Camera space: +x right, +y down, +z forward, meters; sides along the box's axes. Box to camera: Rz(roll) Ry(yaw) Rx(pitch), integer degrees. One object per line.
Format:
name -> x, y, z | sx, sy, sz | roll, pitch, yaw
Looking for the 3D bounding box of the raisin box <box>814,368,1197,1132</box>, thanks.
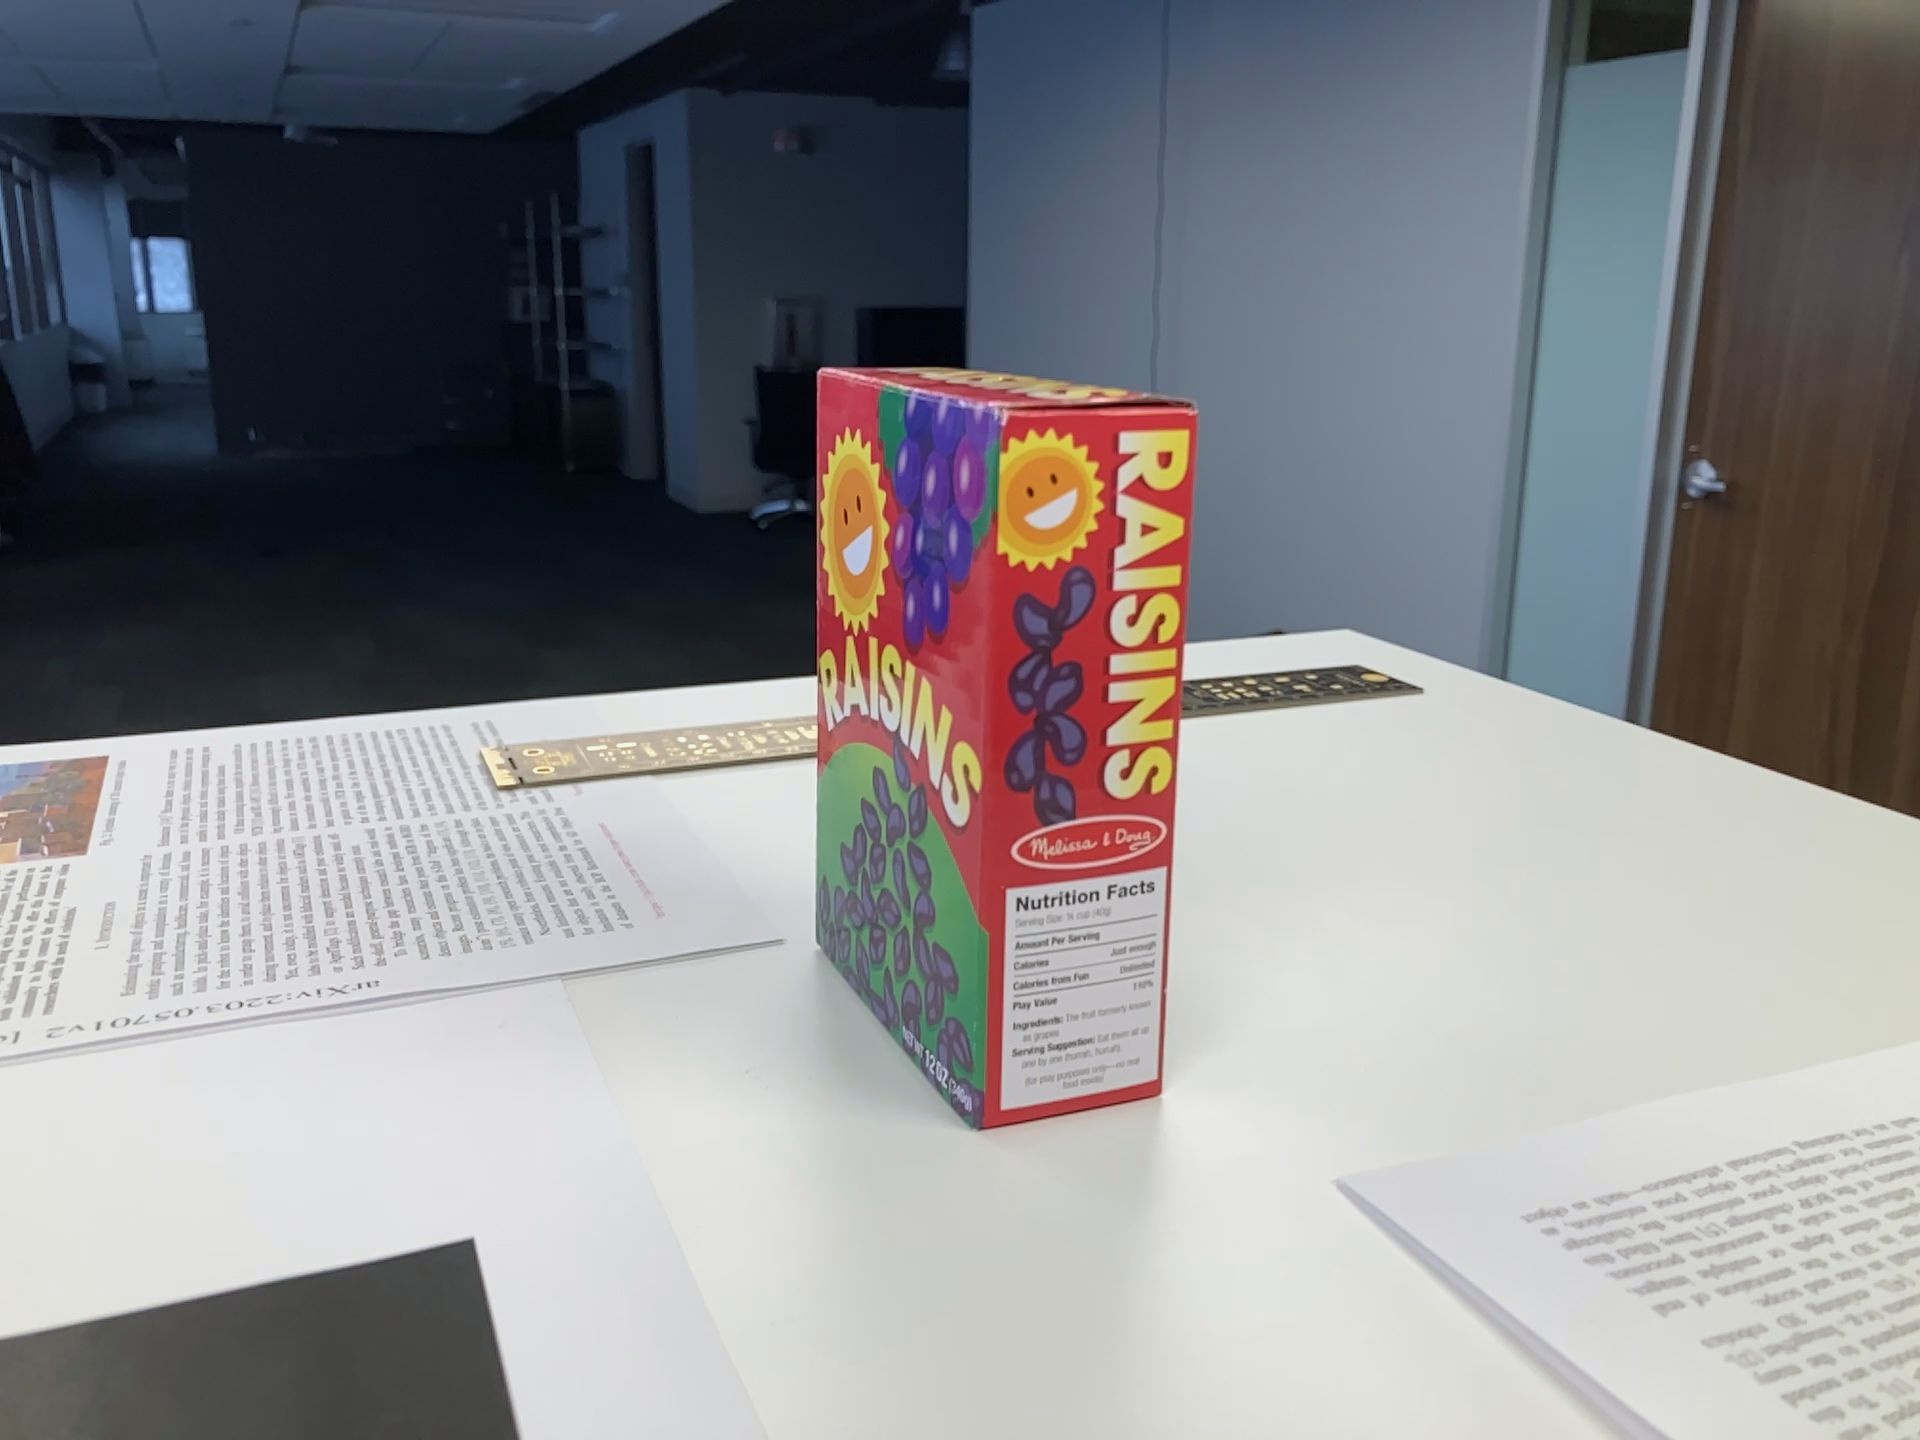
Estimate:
raisin box -> 0.004, -0.001, 0.295 | 0.040, 0.123, 0.086 | -5, 16, -22
